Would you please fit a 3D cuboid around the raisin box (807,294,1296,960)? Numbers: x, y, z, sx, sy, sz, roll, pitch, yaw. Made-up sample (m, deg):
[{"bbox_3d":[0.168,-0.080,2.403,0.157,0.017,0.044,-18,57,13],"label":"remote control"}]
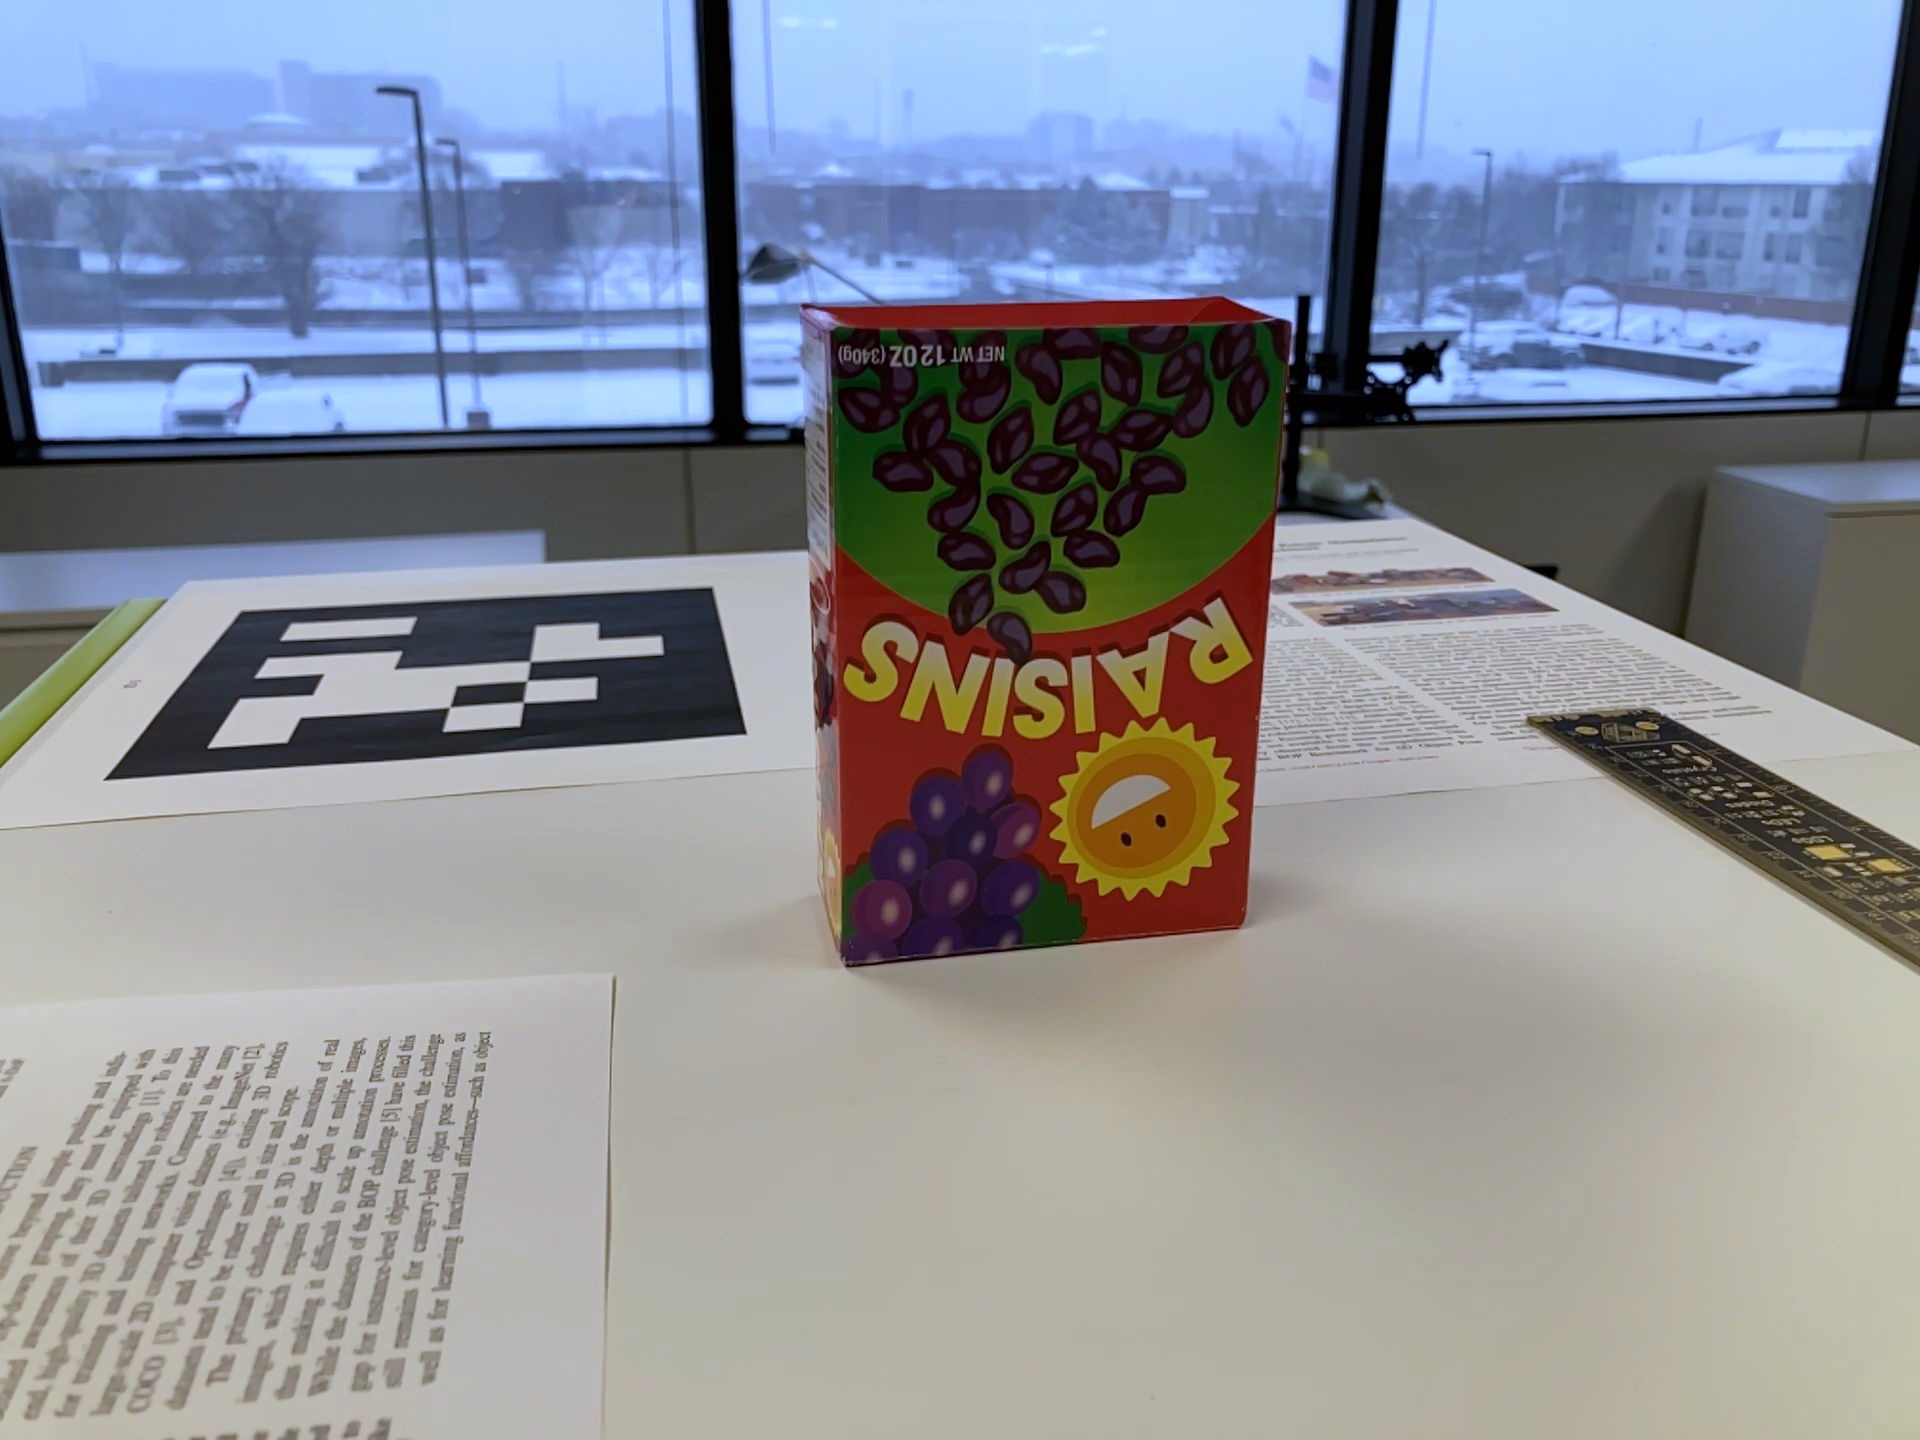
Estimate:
[{"bbox_3d":[0.014,-0.019,0.311,0.086,0.123,0.040,-4,20,-12],"label":"raisin box"}]
